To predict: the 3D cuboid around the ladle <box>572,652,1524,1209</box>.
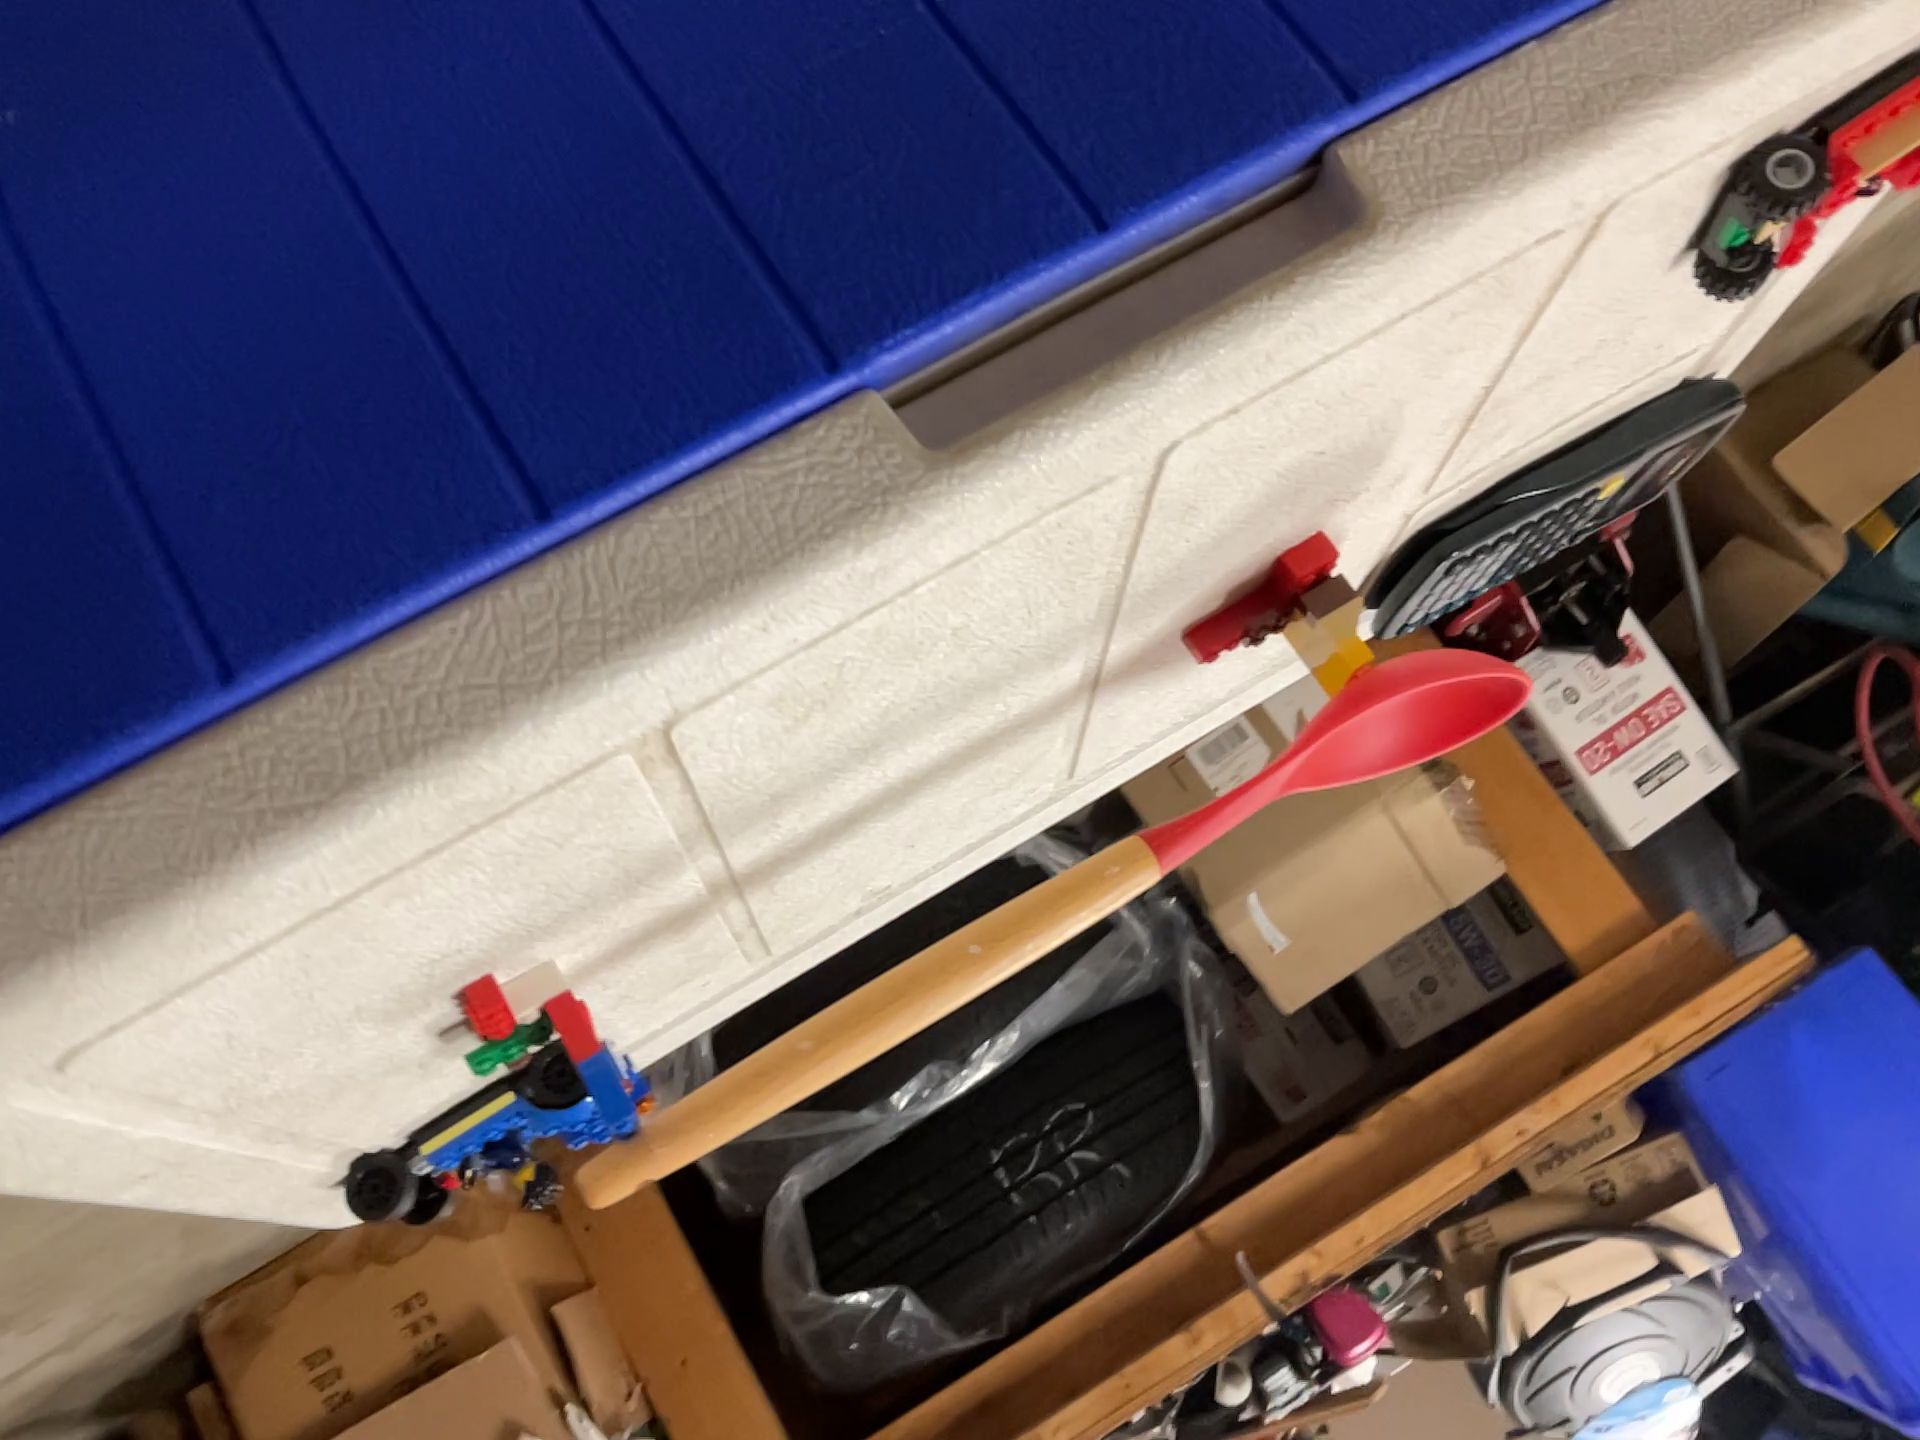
[{"bbox_3d":[0.033,0.054,0.466,0.315,0.031,0.069,-28,158,-14],"label":"ladle"}]
